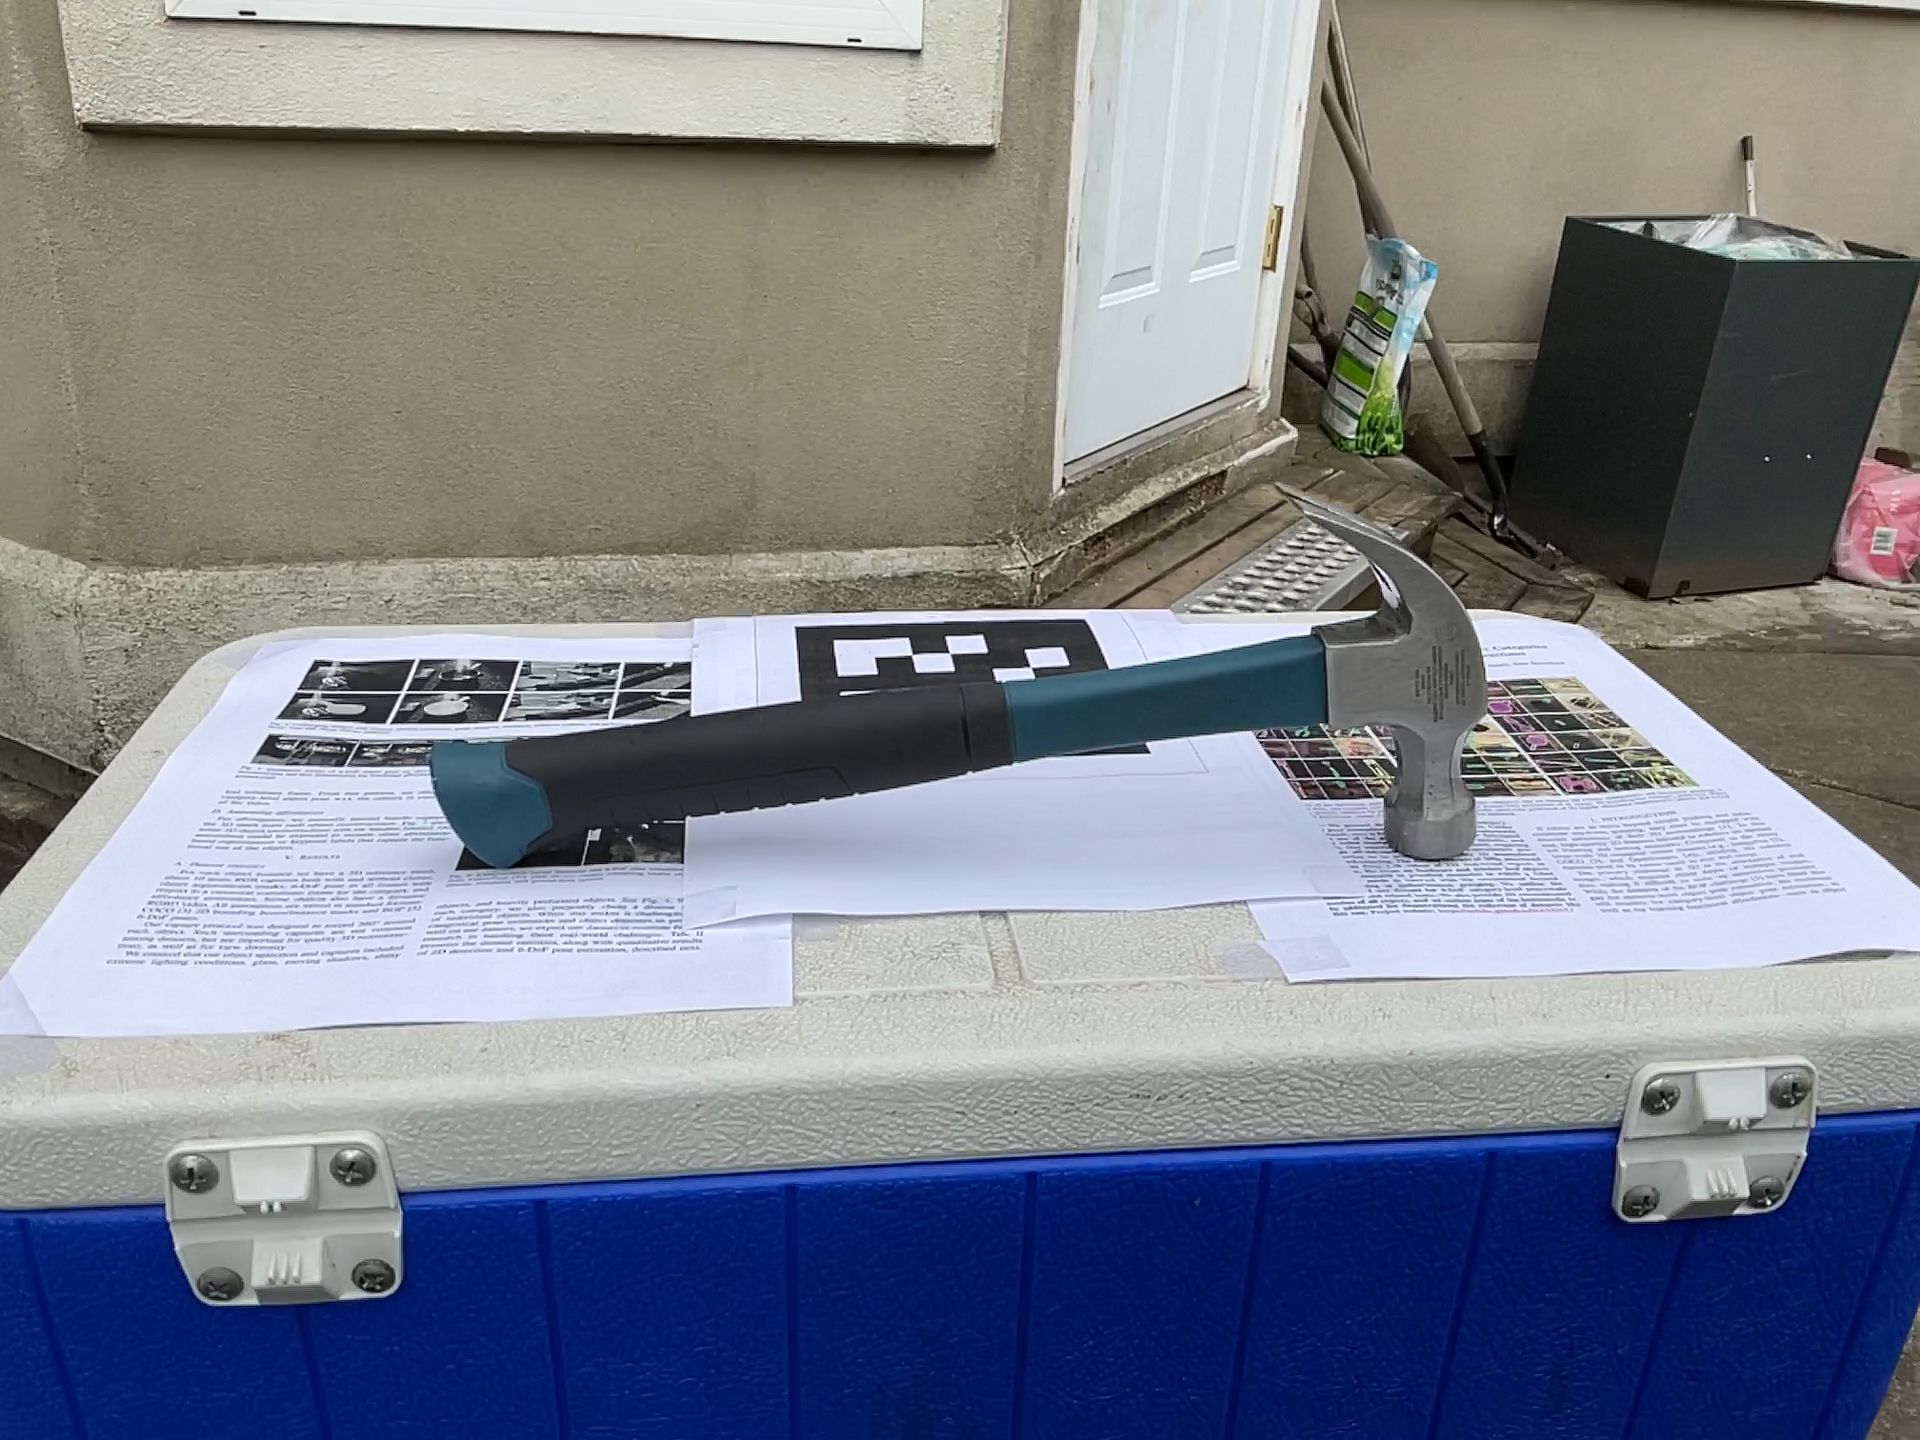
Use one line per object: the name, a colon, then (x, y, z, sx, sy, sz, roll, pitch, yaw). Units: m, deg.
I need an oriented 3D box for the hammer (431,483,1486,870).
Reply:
hammer: (0.002, 0.005, 0.507, 0.331, 0.128, 0.033, -8, 23, -2)
